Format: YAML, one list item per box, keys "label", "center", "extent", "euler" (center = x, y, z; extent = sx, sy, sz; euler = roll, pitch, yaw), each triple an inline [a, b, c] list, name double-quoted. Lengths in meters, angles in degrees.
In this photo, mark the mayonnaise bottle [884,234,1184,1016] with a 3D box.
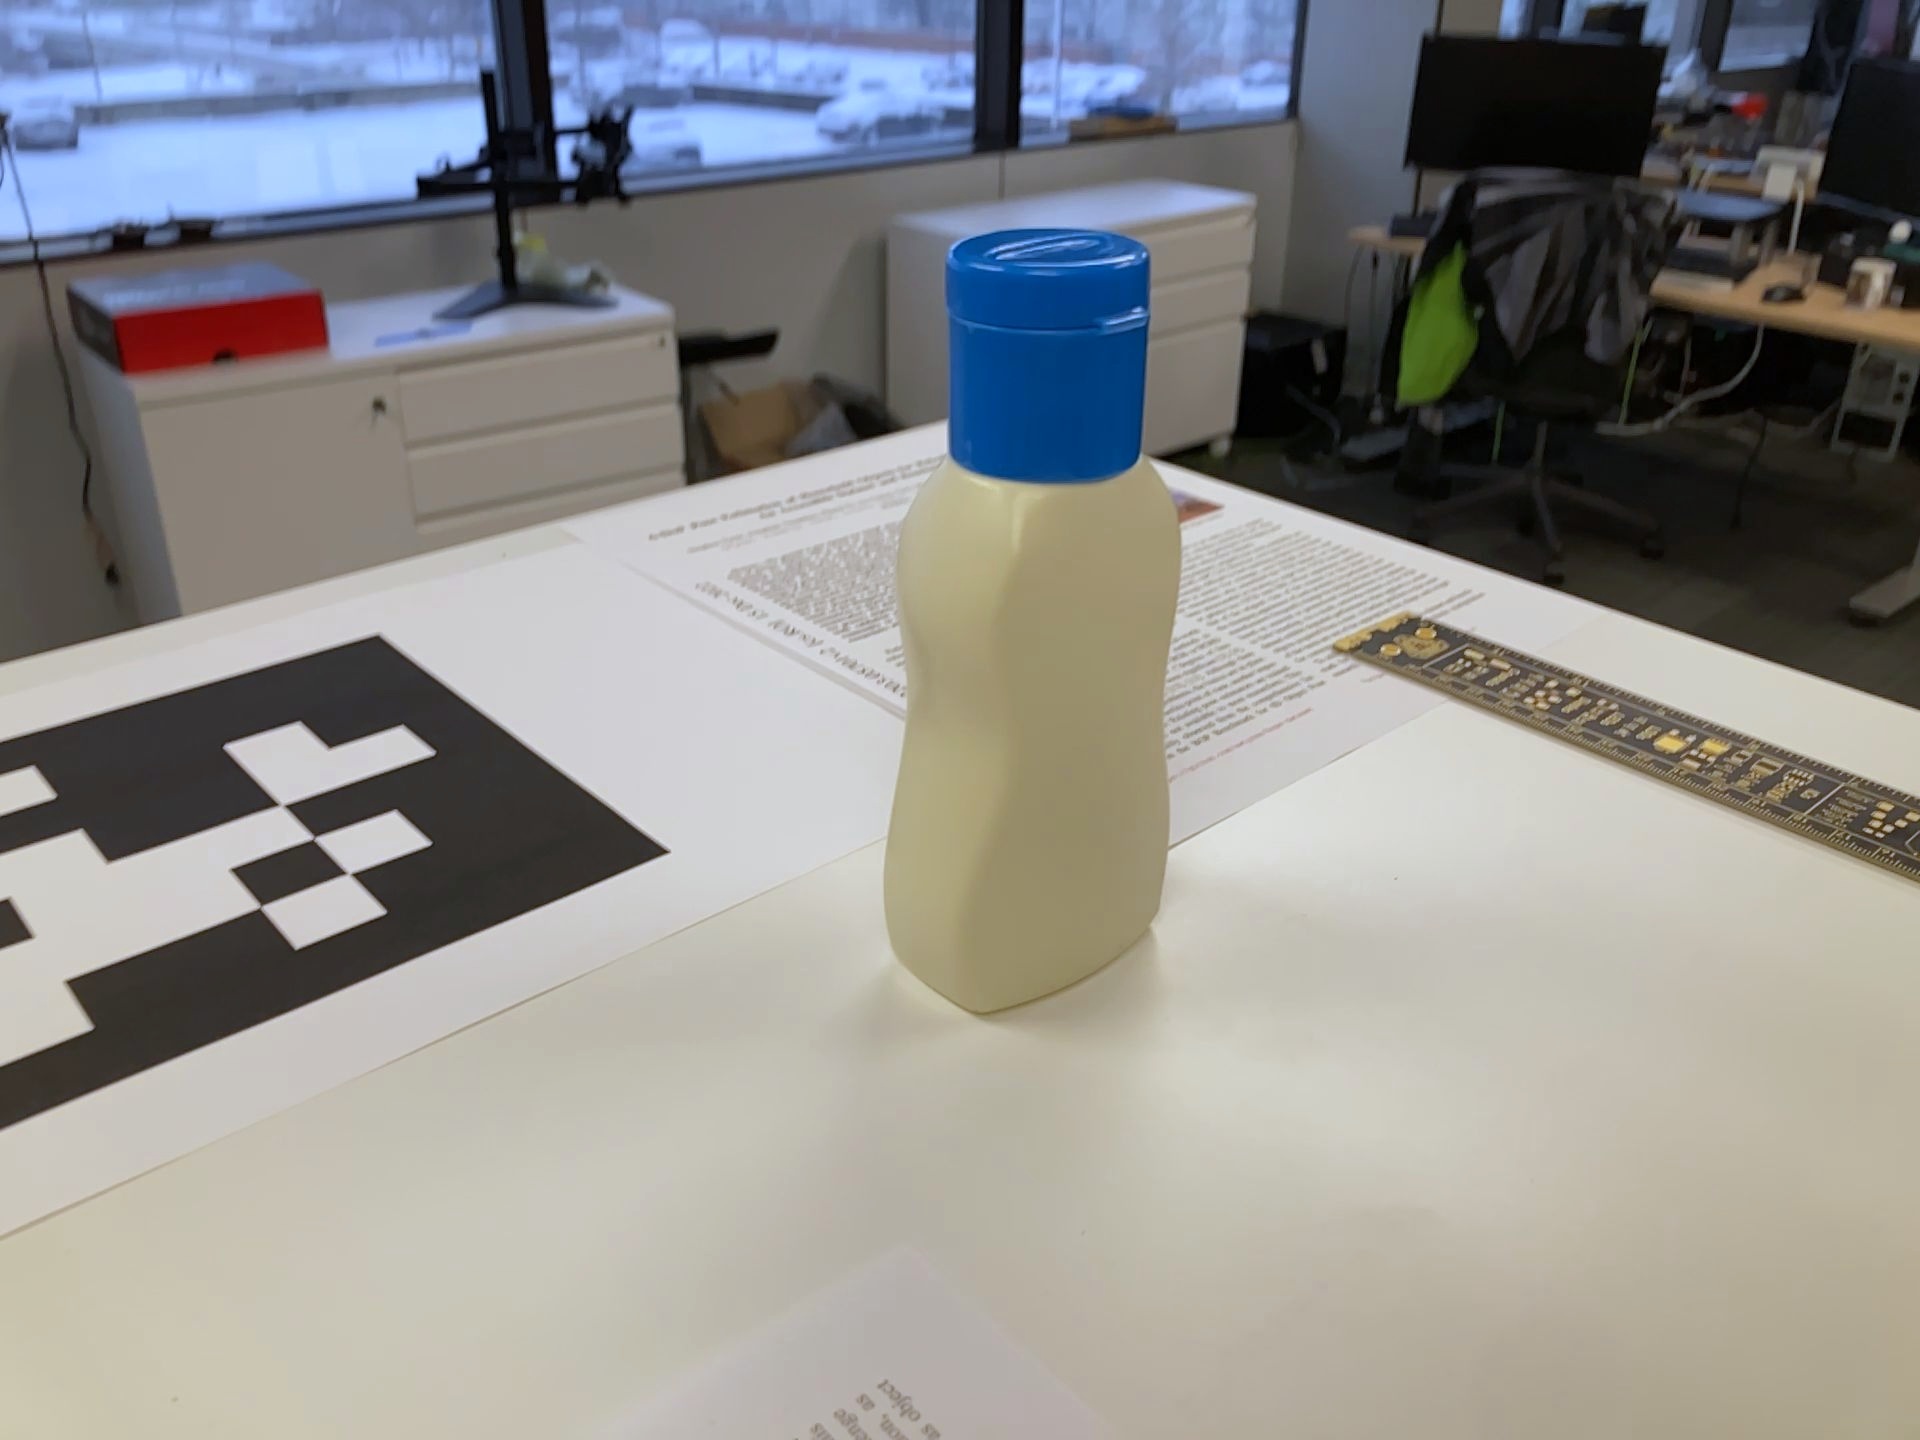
- label: "mayonnaise bottle"
  center: [0.015, -0.017, 0.312]
  extent: [0.065, 0.148, 0.041]
  euler: [-22, 34, -36]
